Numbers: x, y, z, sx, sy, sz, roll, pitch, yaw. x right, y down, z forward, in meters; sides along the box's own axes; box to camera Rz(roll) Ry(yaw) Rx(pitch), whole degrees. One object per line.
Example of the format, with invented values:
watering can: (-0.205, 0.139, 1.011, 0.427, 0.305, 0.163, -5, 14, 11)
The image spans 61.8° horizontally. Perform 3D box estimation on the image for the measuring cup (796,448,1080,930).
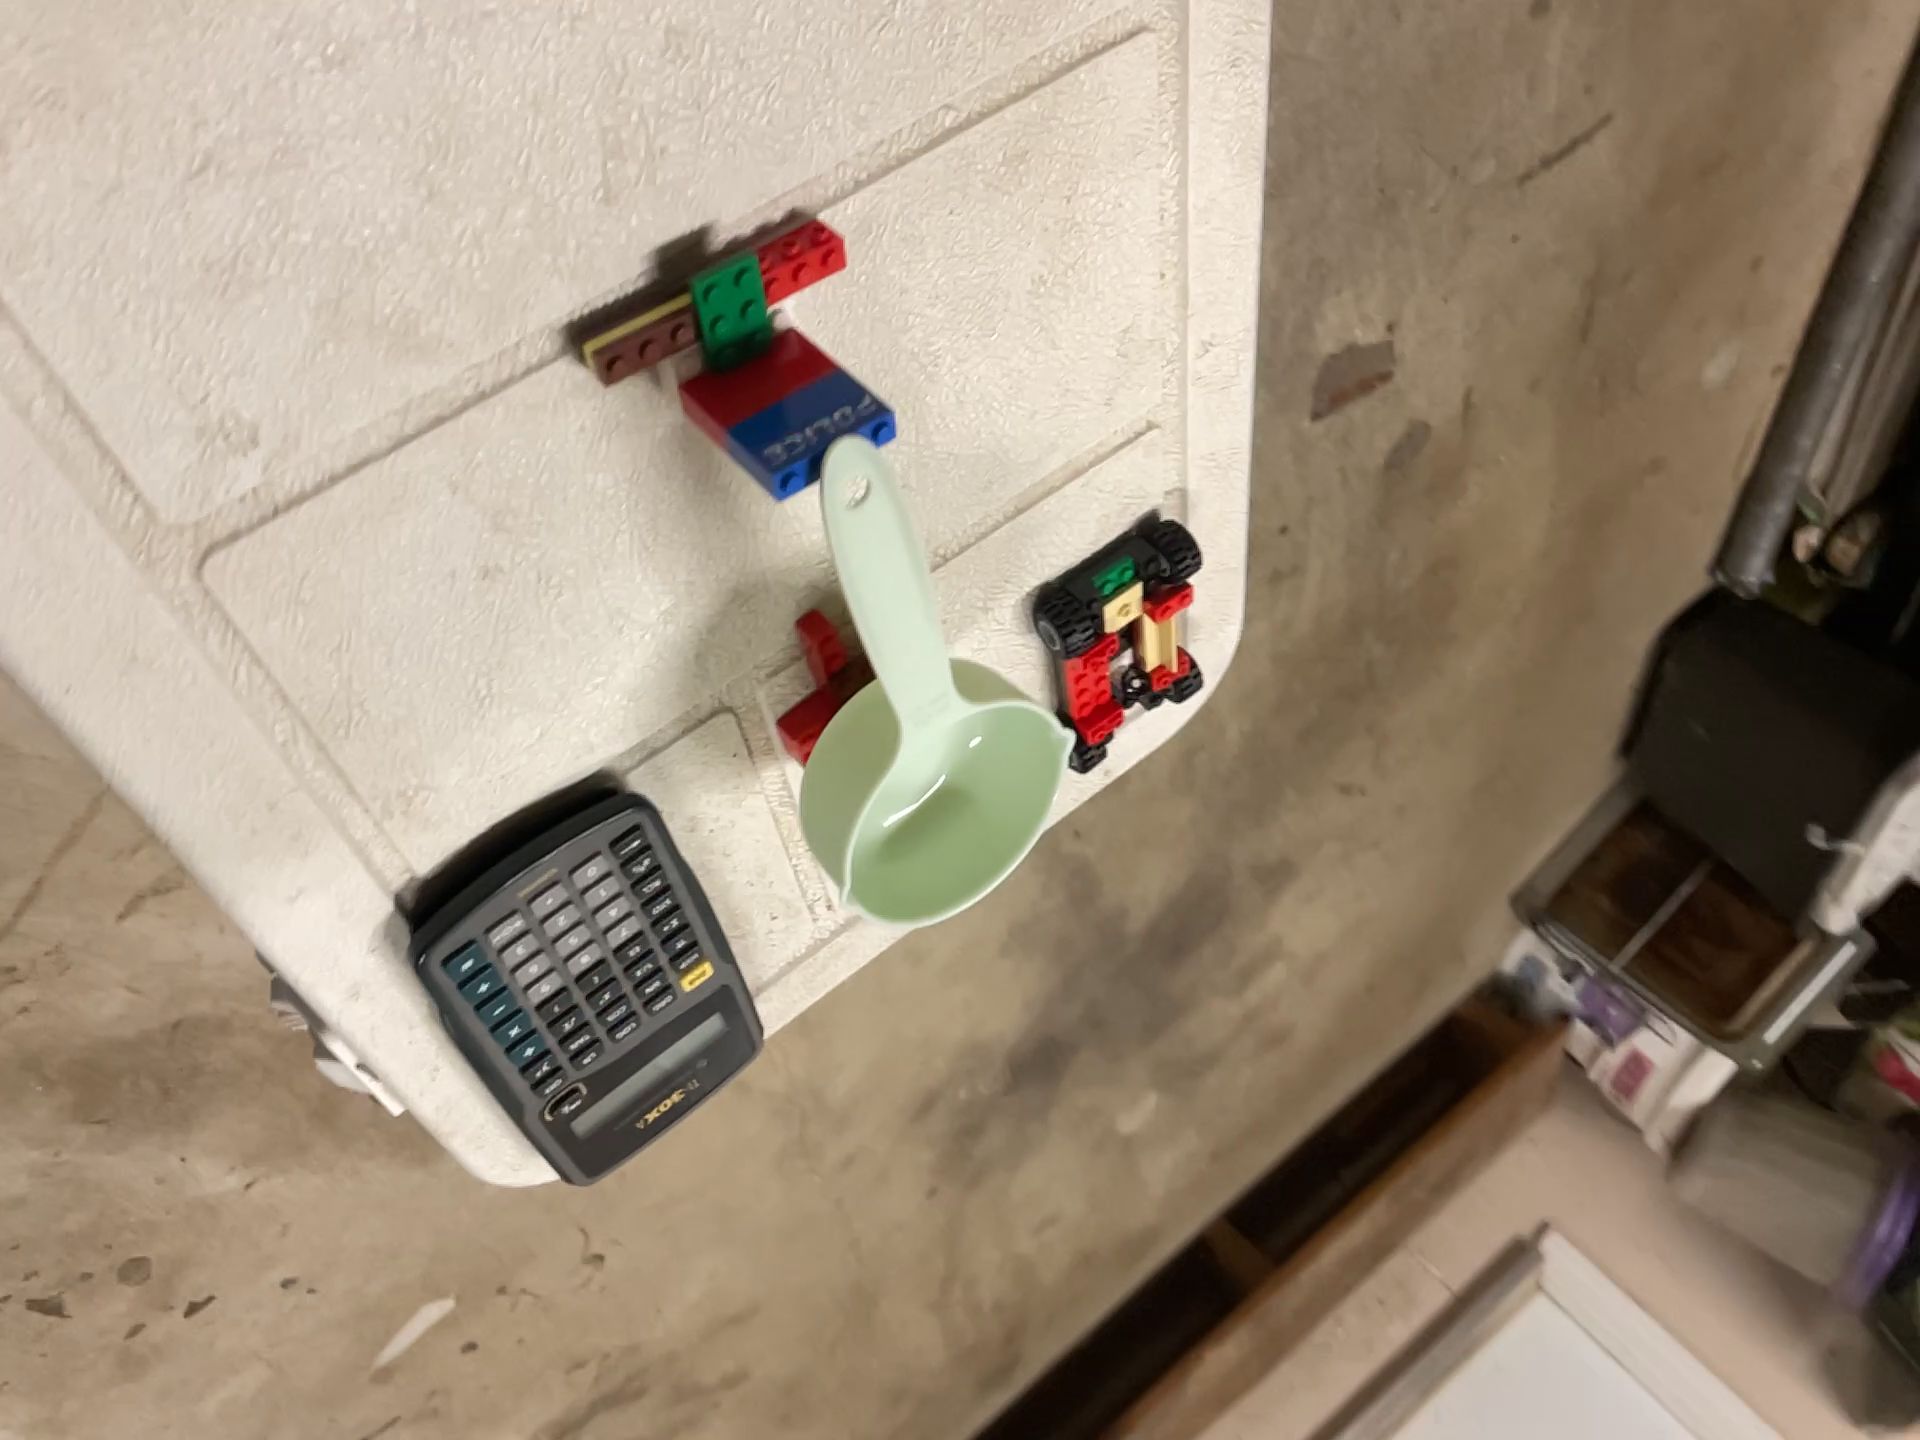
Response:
measuring cup: (-0.019, -0.011, 0.412, 0.083, 0.038, 0.167, -35, 140, -15)
